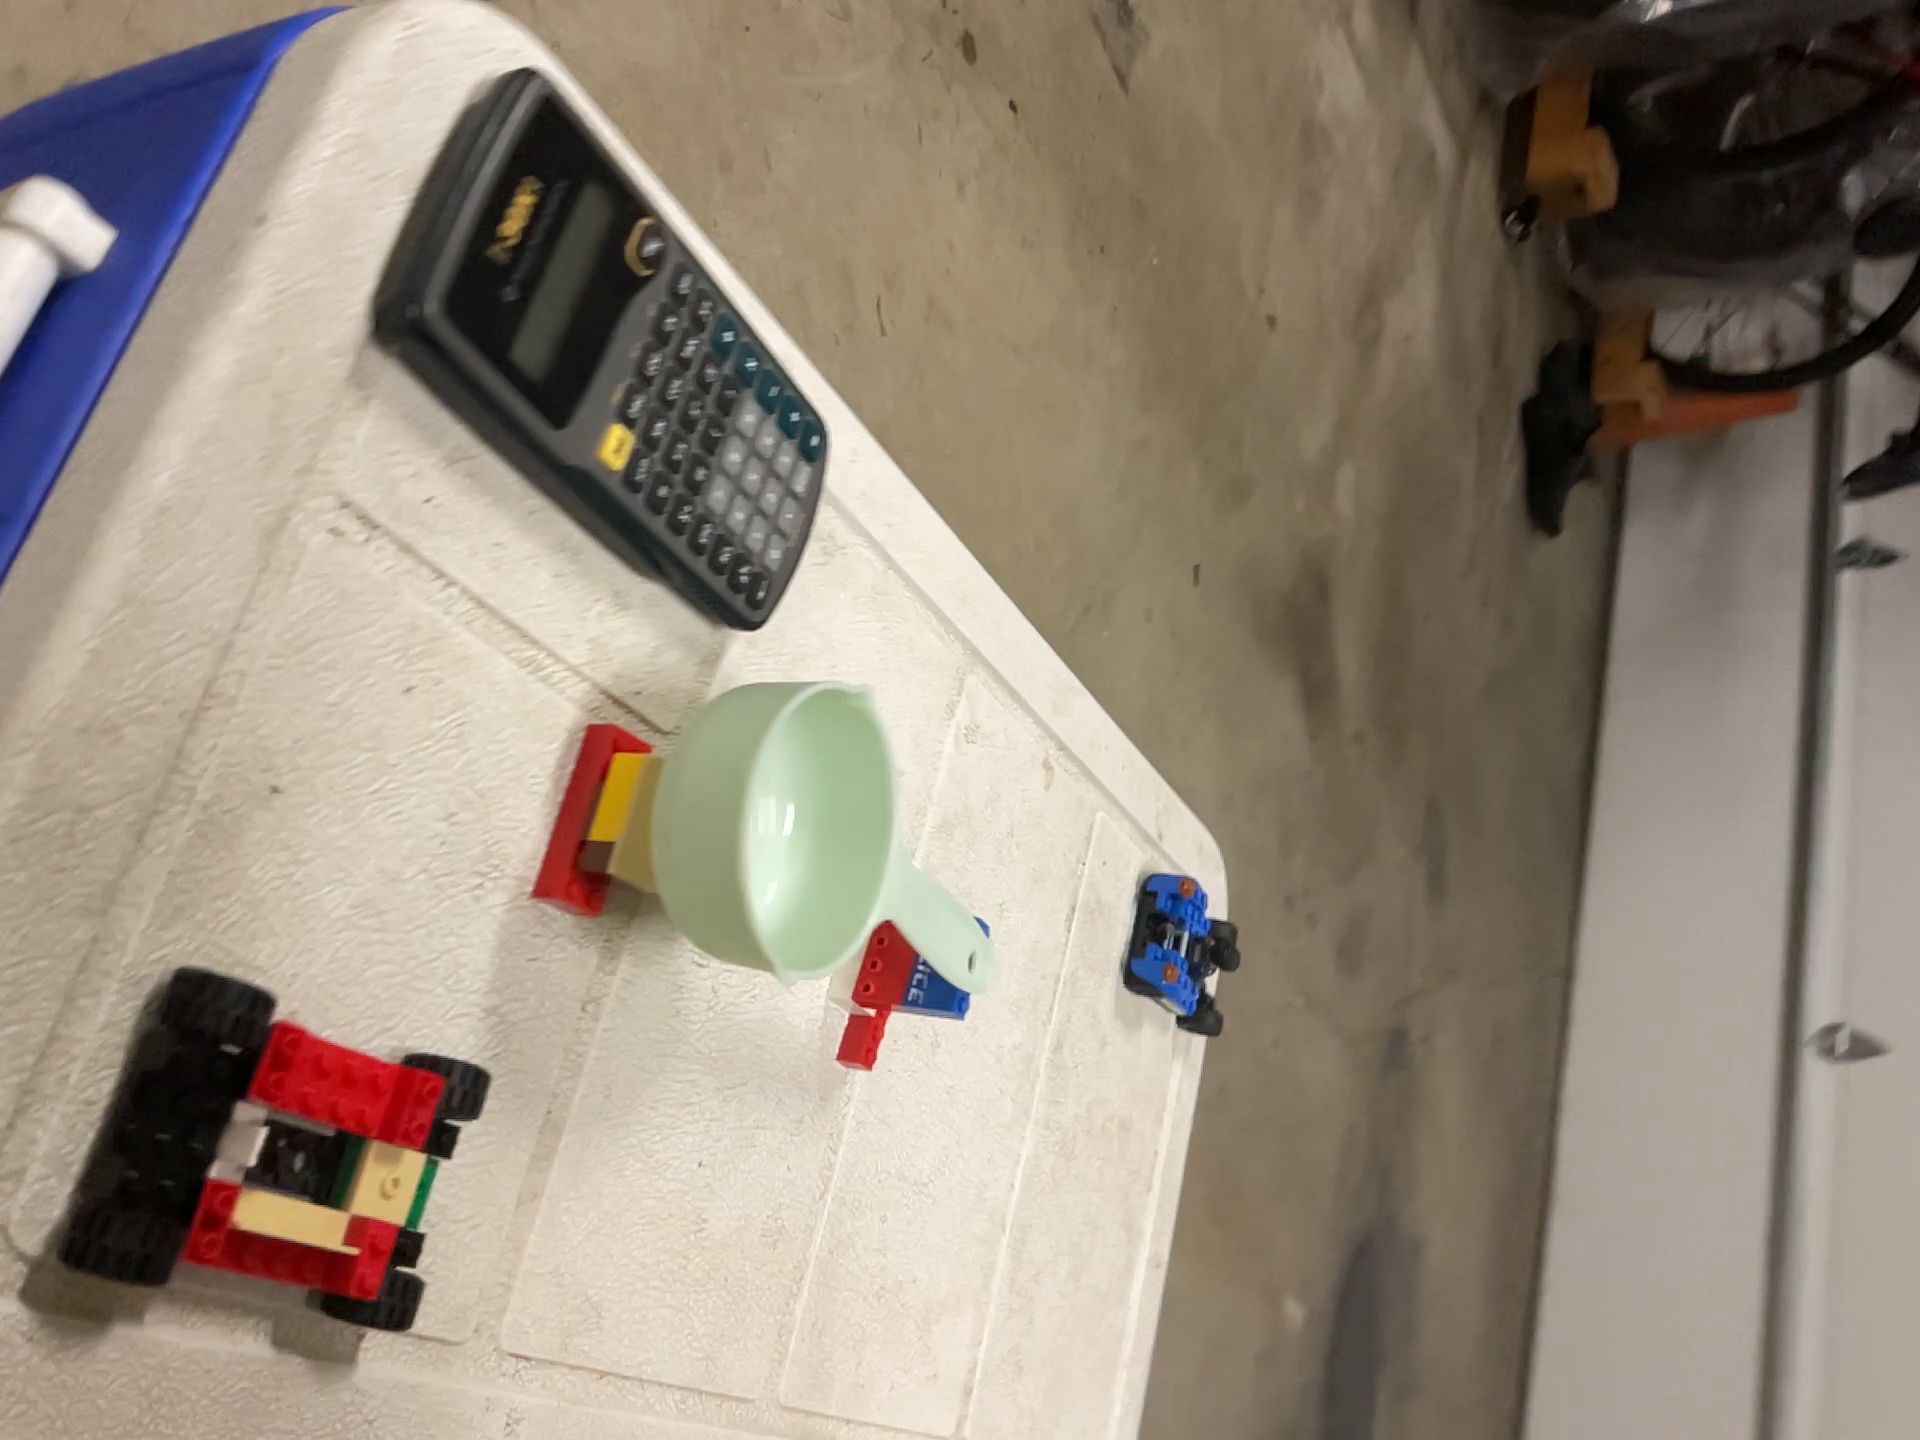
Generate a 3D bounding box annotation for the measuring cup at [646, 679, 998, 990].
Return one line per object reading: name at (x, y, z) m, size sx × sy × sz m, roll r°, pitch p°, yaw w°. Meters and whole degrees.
measuring cup at (-0.033, 0.045, 0.450) m, size 0.167 × 0.038 × 0.083 m, roll 48°, pitch 50°, yaw -57°
